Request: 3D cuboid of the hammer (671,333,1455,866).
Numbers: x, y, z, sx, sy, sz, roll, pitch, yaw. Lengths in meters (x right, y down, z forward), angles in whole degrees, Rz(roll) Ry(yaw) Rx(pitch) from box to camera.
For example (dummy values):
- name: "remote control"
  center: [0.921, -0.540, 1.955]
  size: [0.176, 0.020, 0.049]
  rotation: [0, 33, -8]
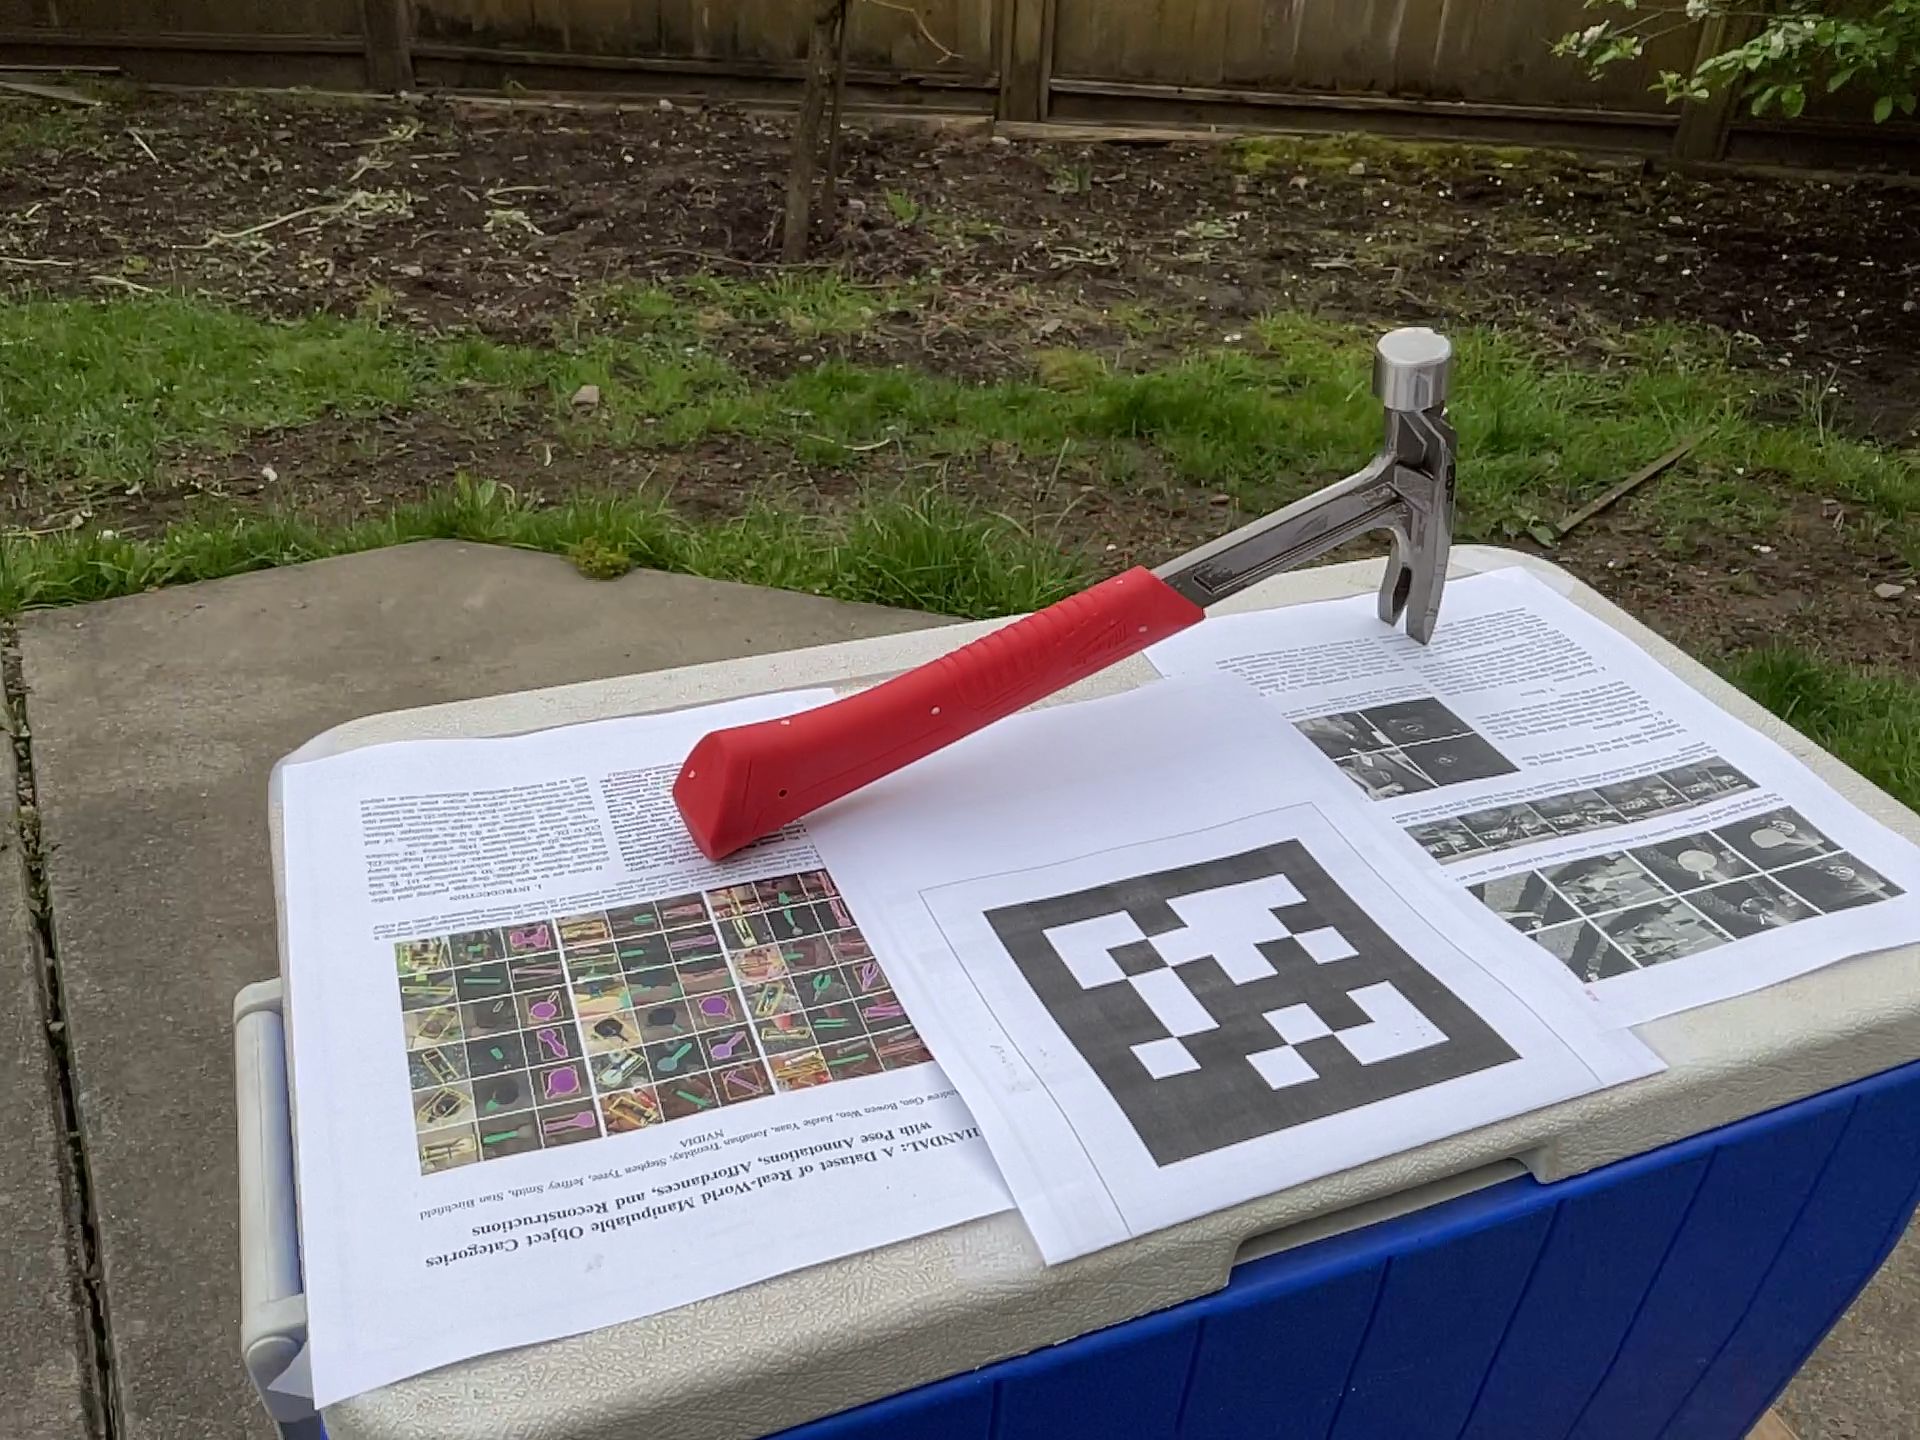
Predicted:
- name: "hammer"
  center: [0.056, -0.028, 0.640]
  size: [0.359, 0.149, 0.037]
  rotation: [-26, 42, -20]
